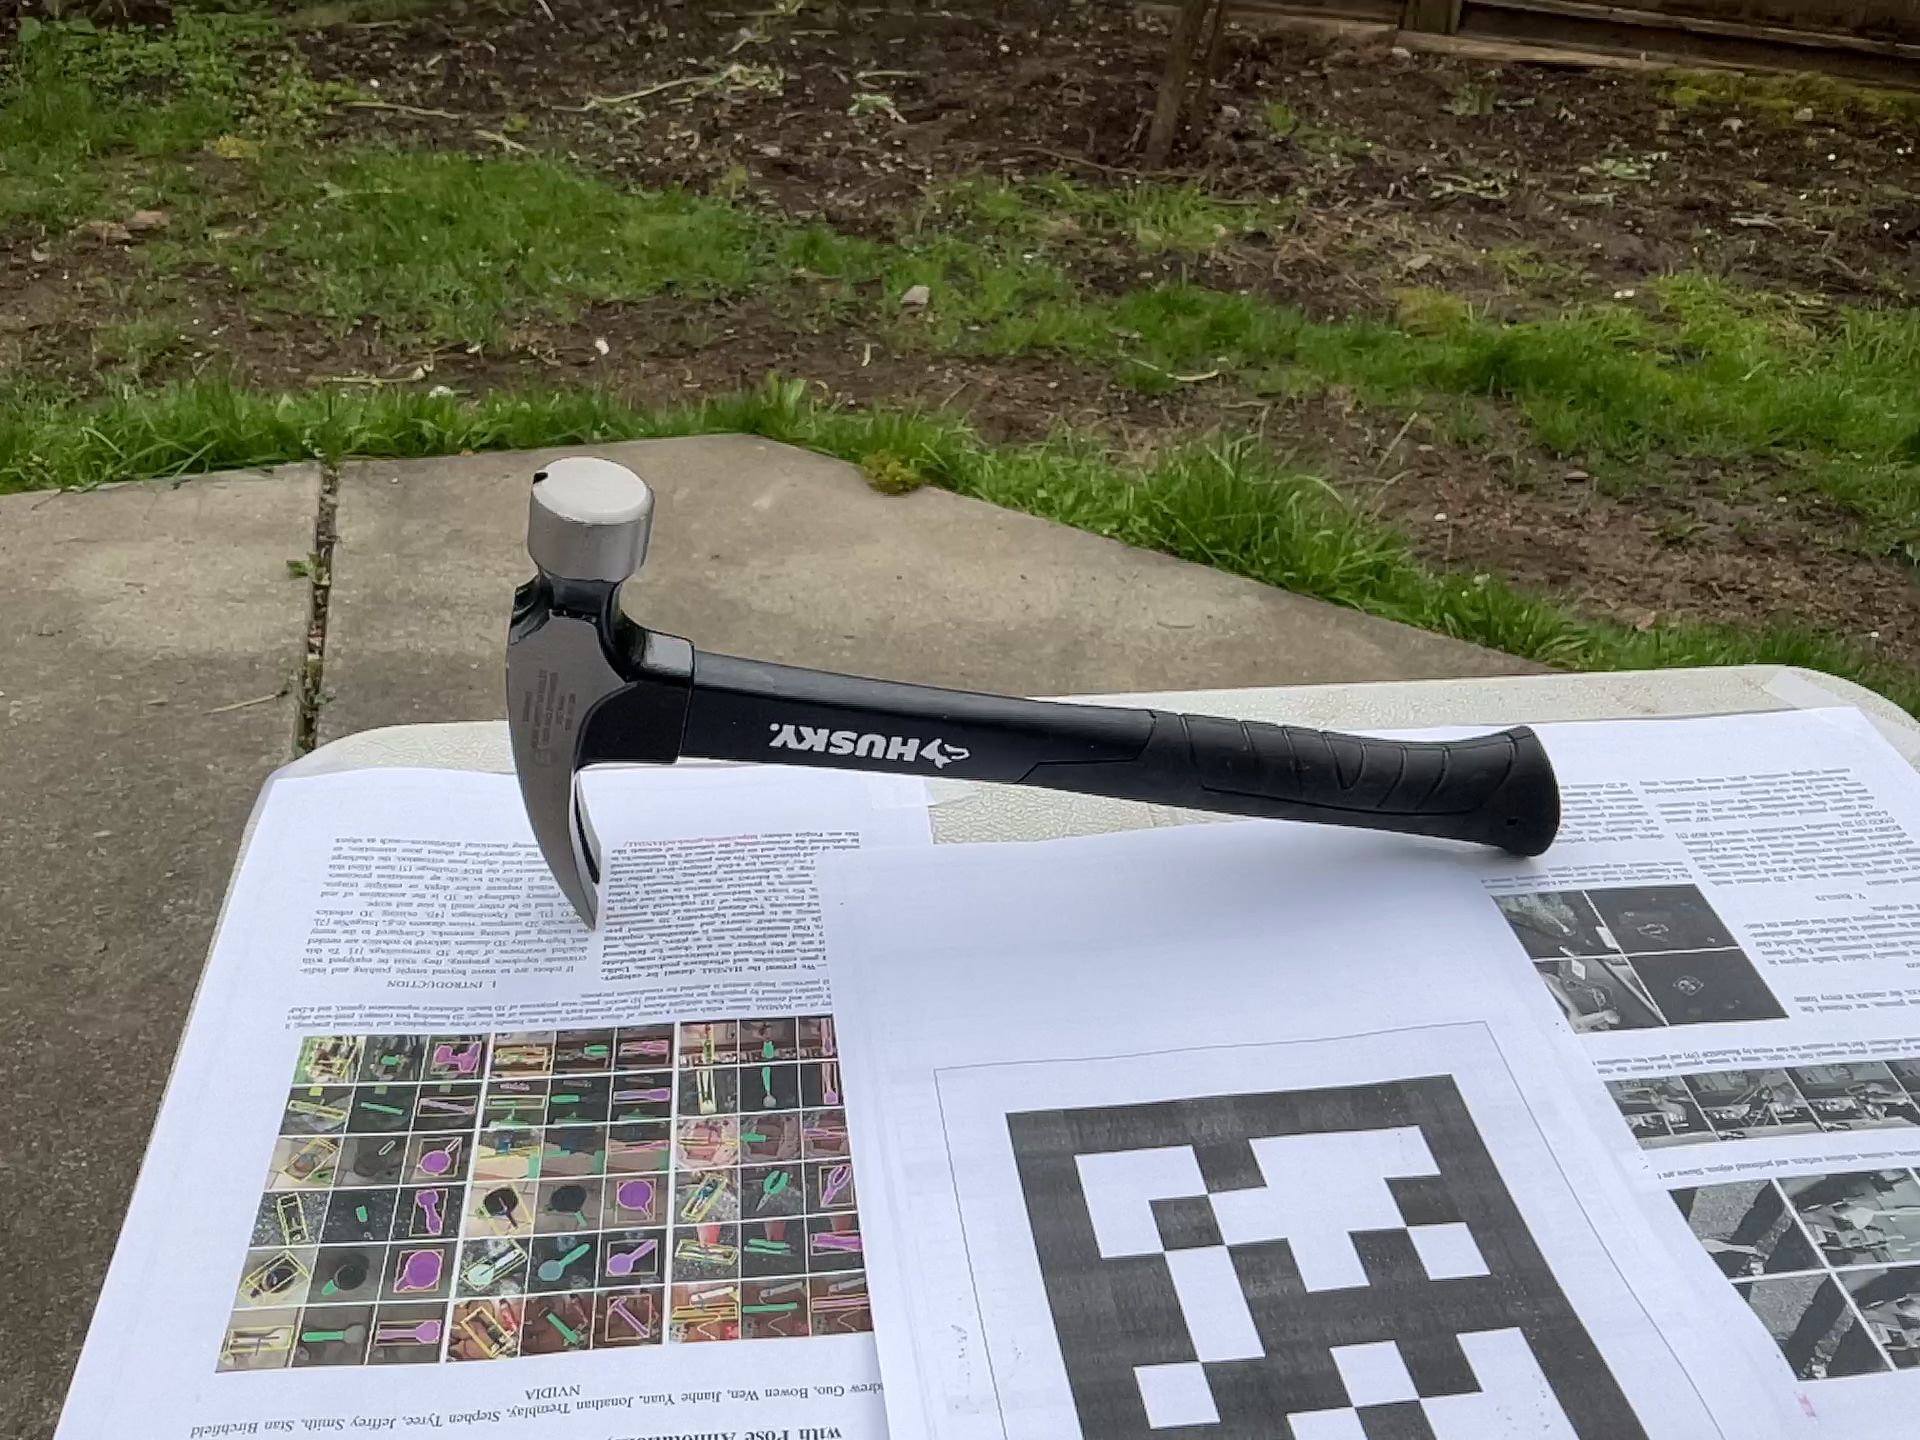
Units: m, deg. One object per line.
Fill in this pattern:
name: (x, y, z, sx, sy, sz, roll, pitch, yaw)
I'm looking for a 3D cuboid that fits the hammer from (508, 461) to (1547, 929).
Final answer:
hammer: (0.031, 0.013, 0.497, 0.334, 0.146, 0.035, 7, 37, -14)
